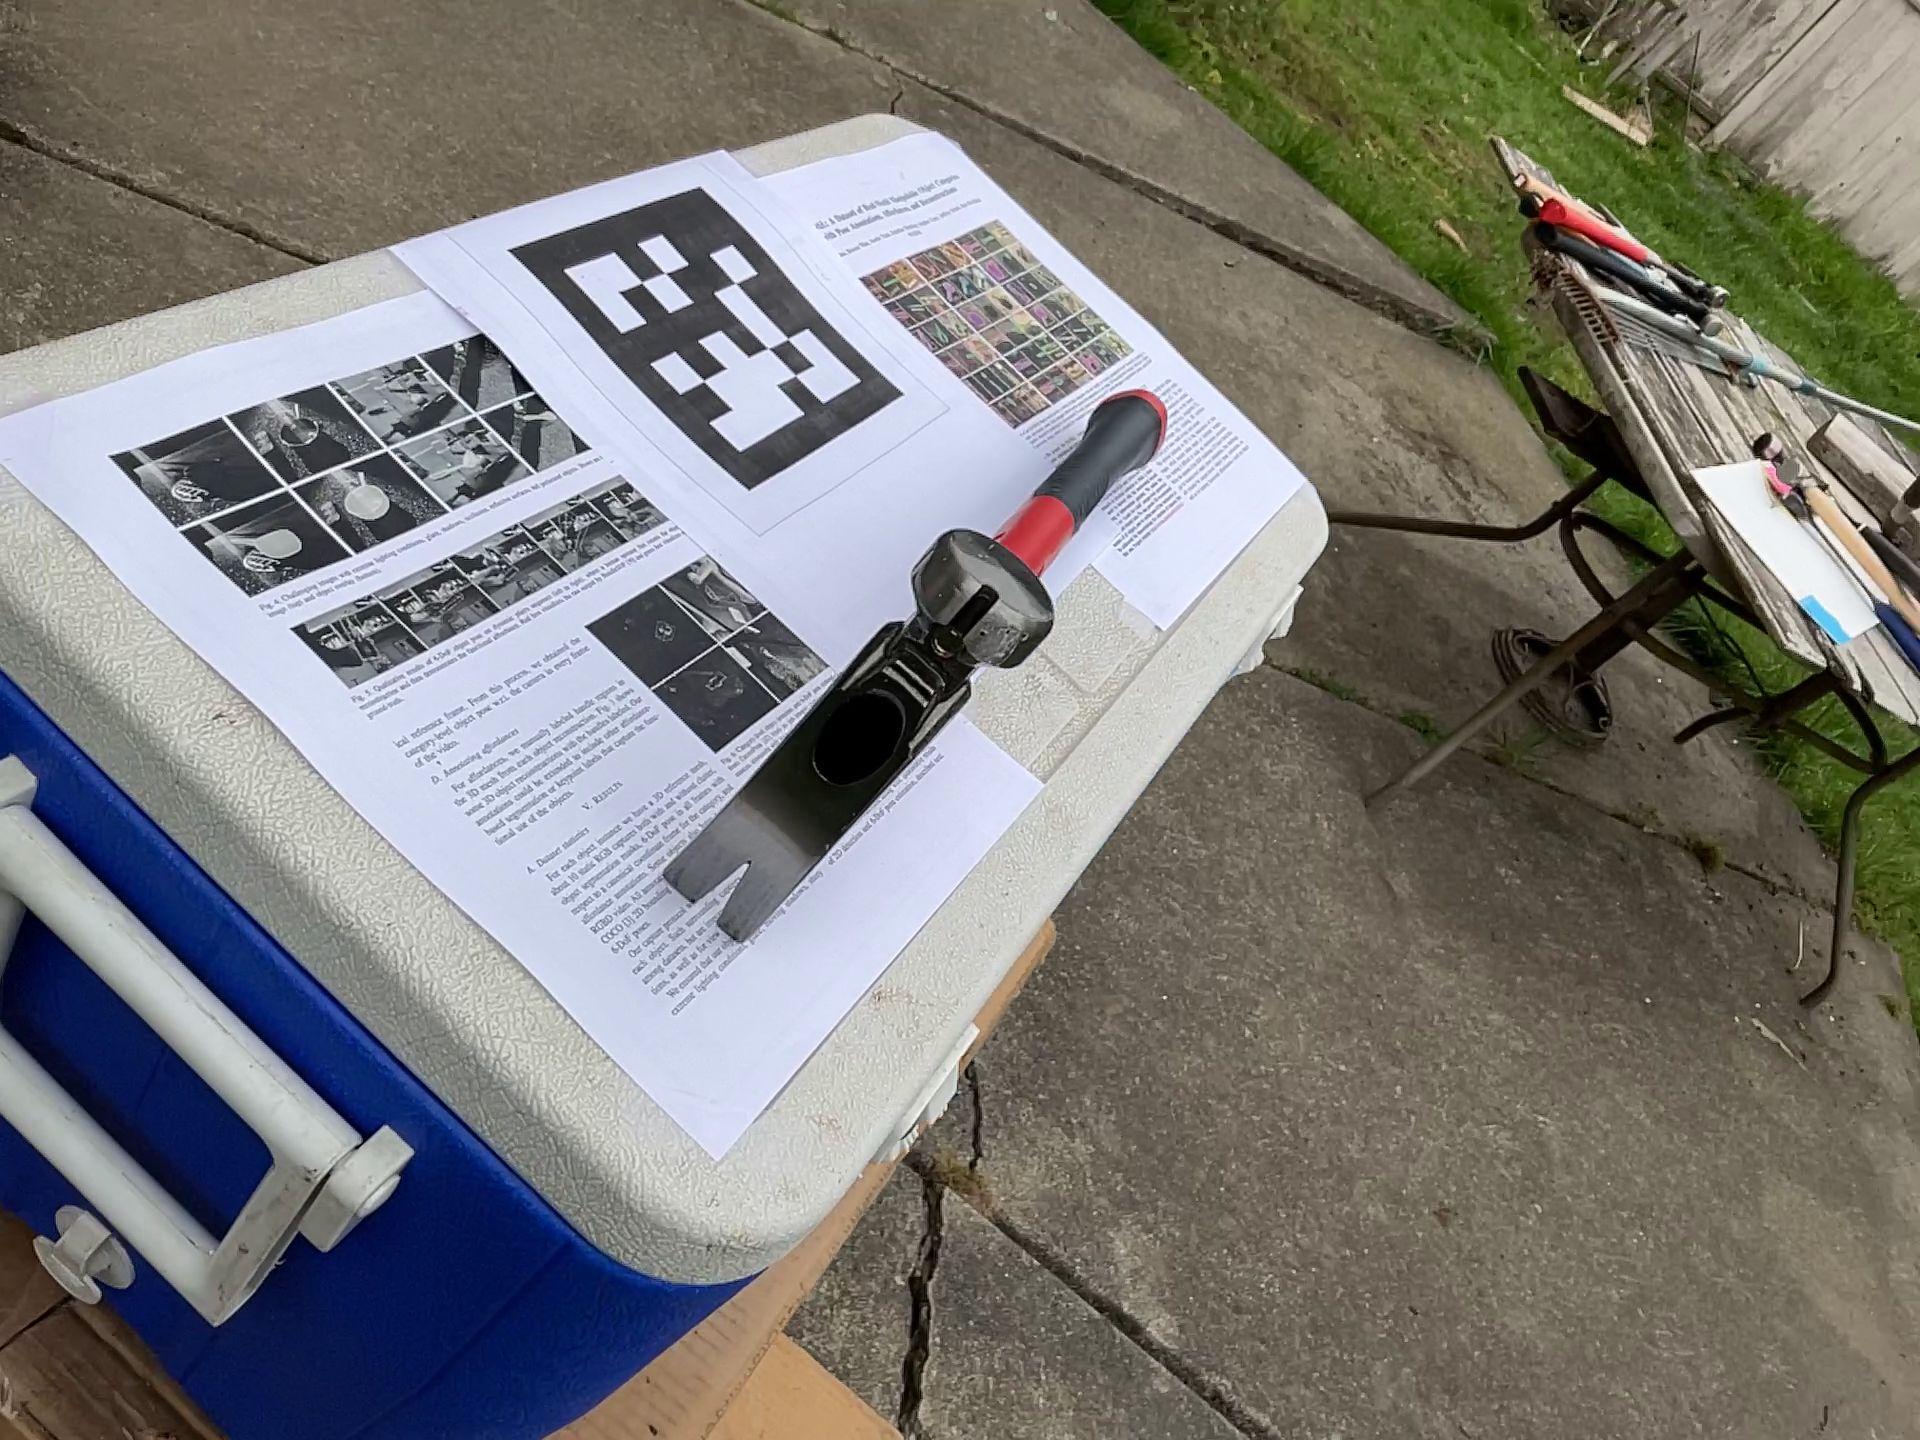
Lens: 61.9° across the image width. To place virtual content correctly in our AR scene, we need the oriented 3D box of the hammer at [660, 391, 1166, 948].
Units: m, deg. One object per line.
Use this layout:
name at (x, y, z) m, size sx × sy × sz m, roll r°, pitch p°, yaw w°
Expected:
hammer at (0.014, -0.054, 0.595) m, size 0.038 × 0.143 × 0.386 m, roll 42°, pitch 27°, yaw -3°
